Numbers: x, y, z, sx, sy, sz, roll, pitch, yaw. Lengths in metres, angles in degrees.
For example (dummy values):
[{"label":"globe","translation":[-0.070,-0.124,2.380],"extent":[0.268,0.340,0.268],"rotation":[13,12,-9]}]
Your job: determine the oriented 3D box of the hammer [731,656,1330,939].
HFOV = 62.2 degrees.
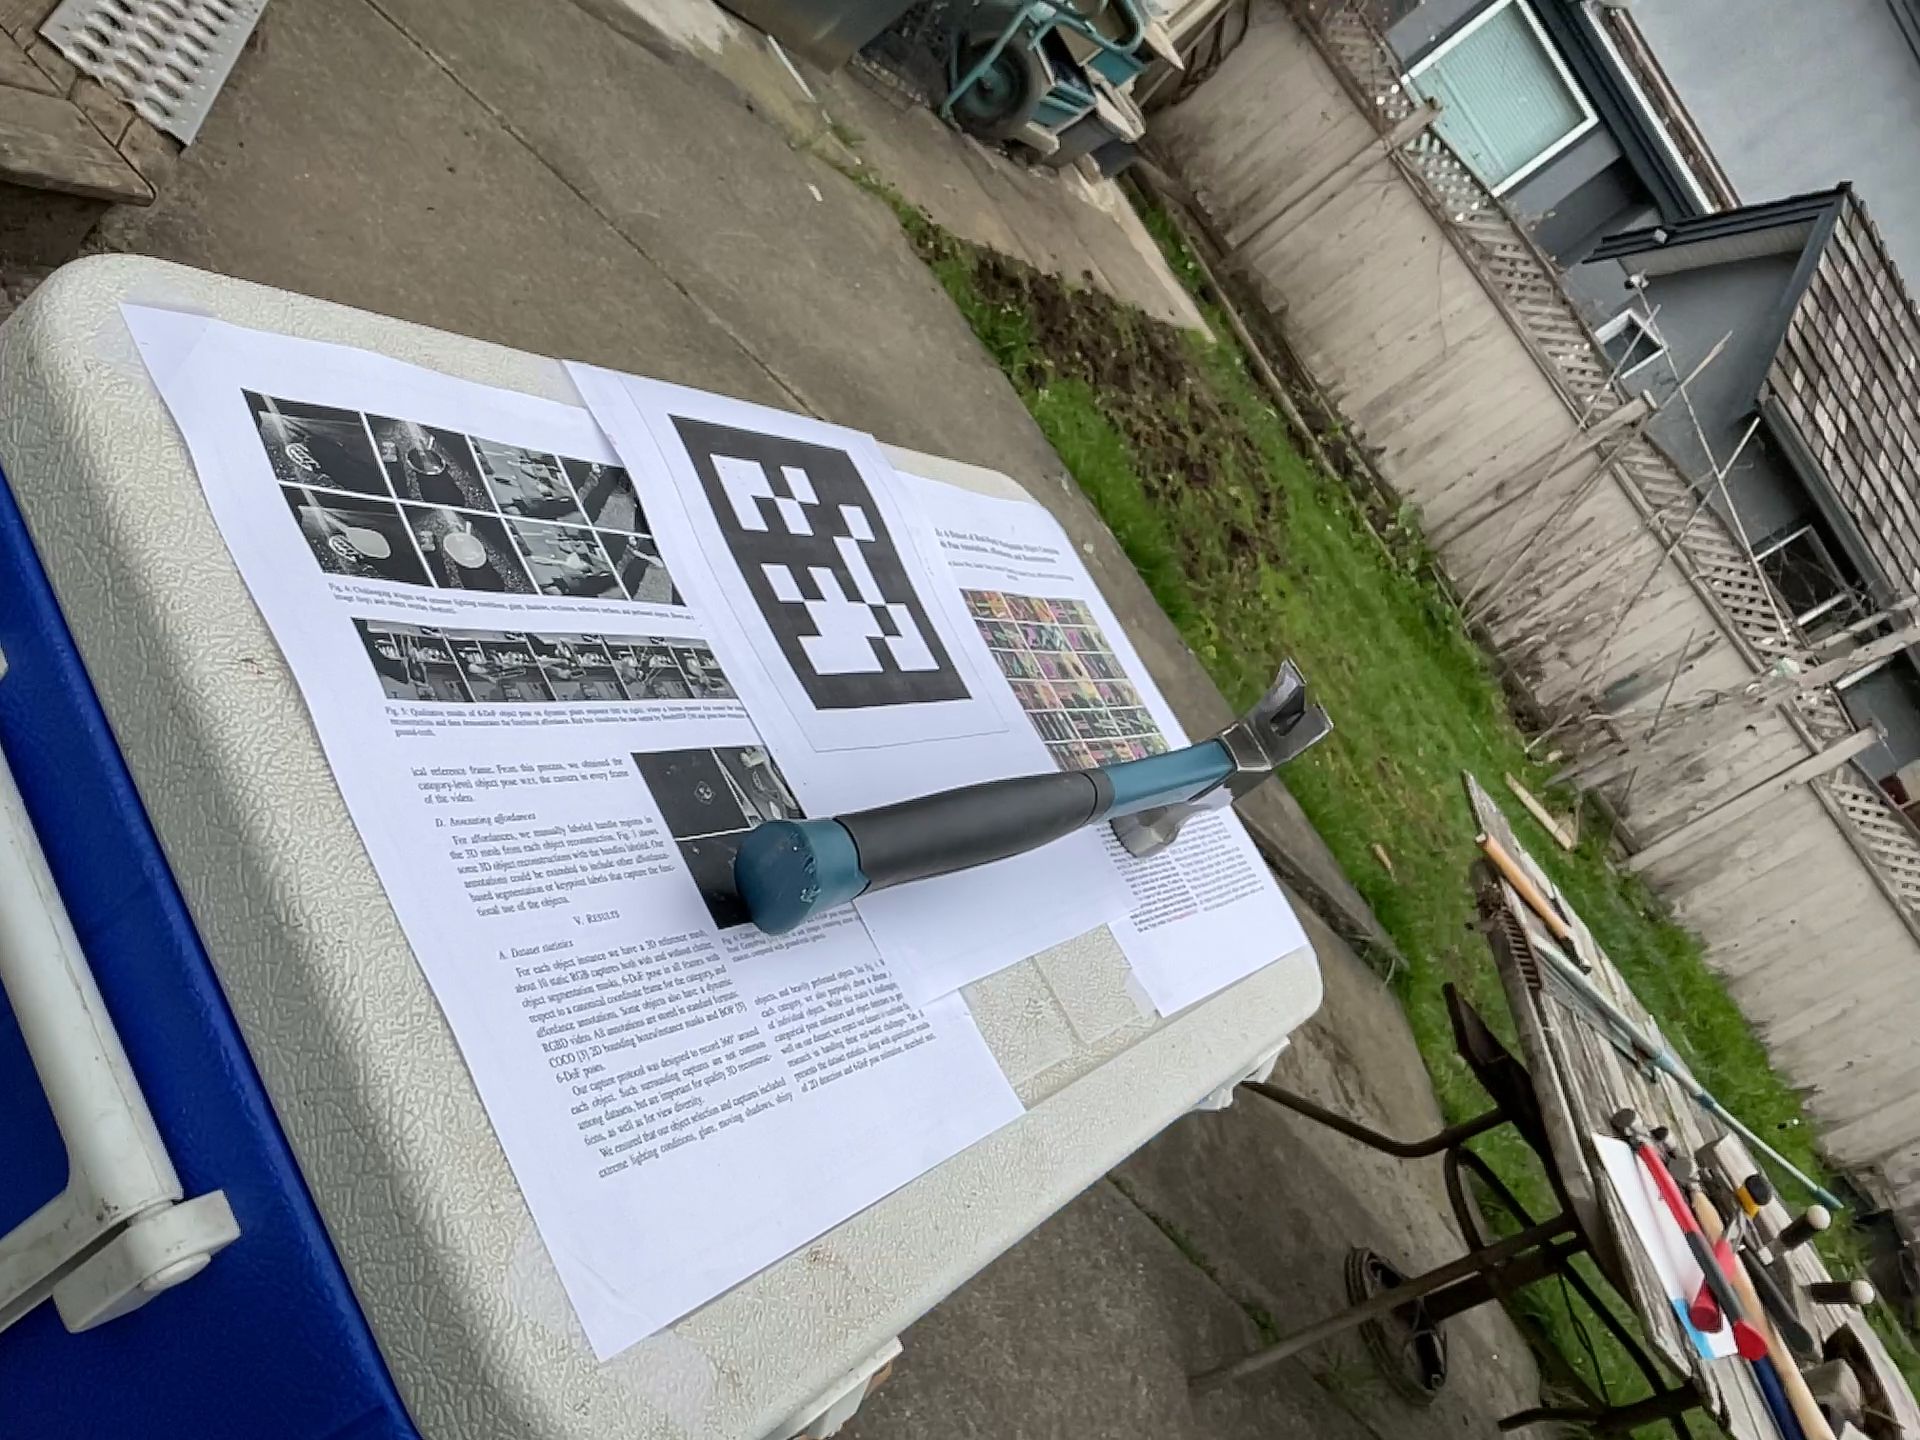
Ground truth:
[{"label":"hammer","translation":[0.036,0.032,0.580],"extent":[0.331,0.128,0.033],"rotation":[-9,64,-55]}]
